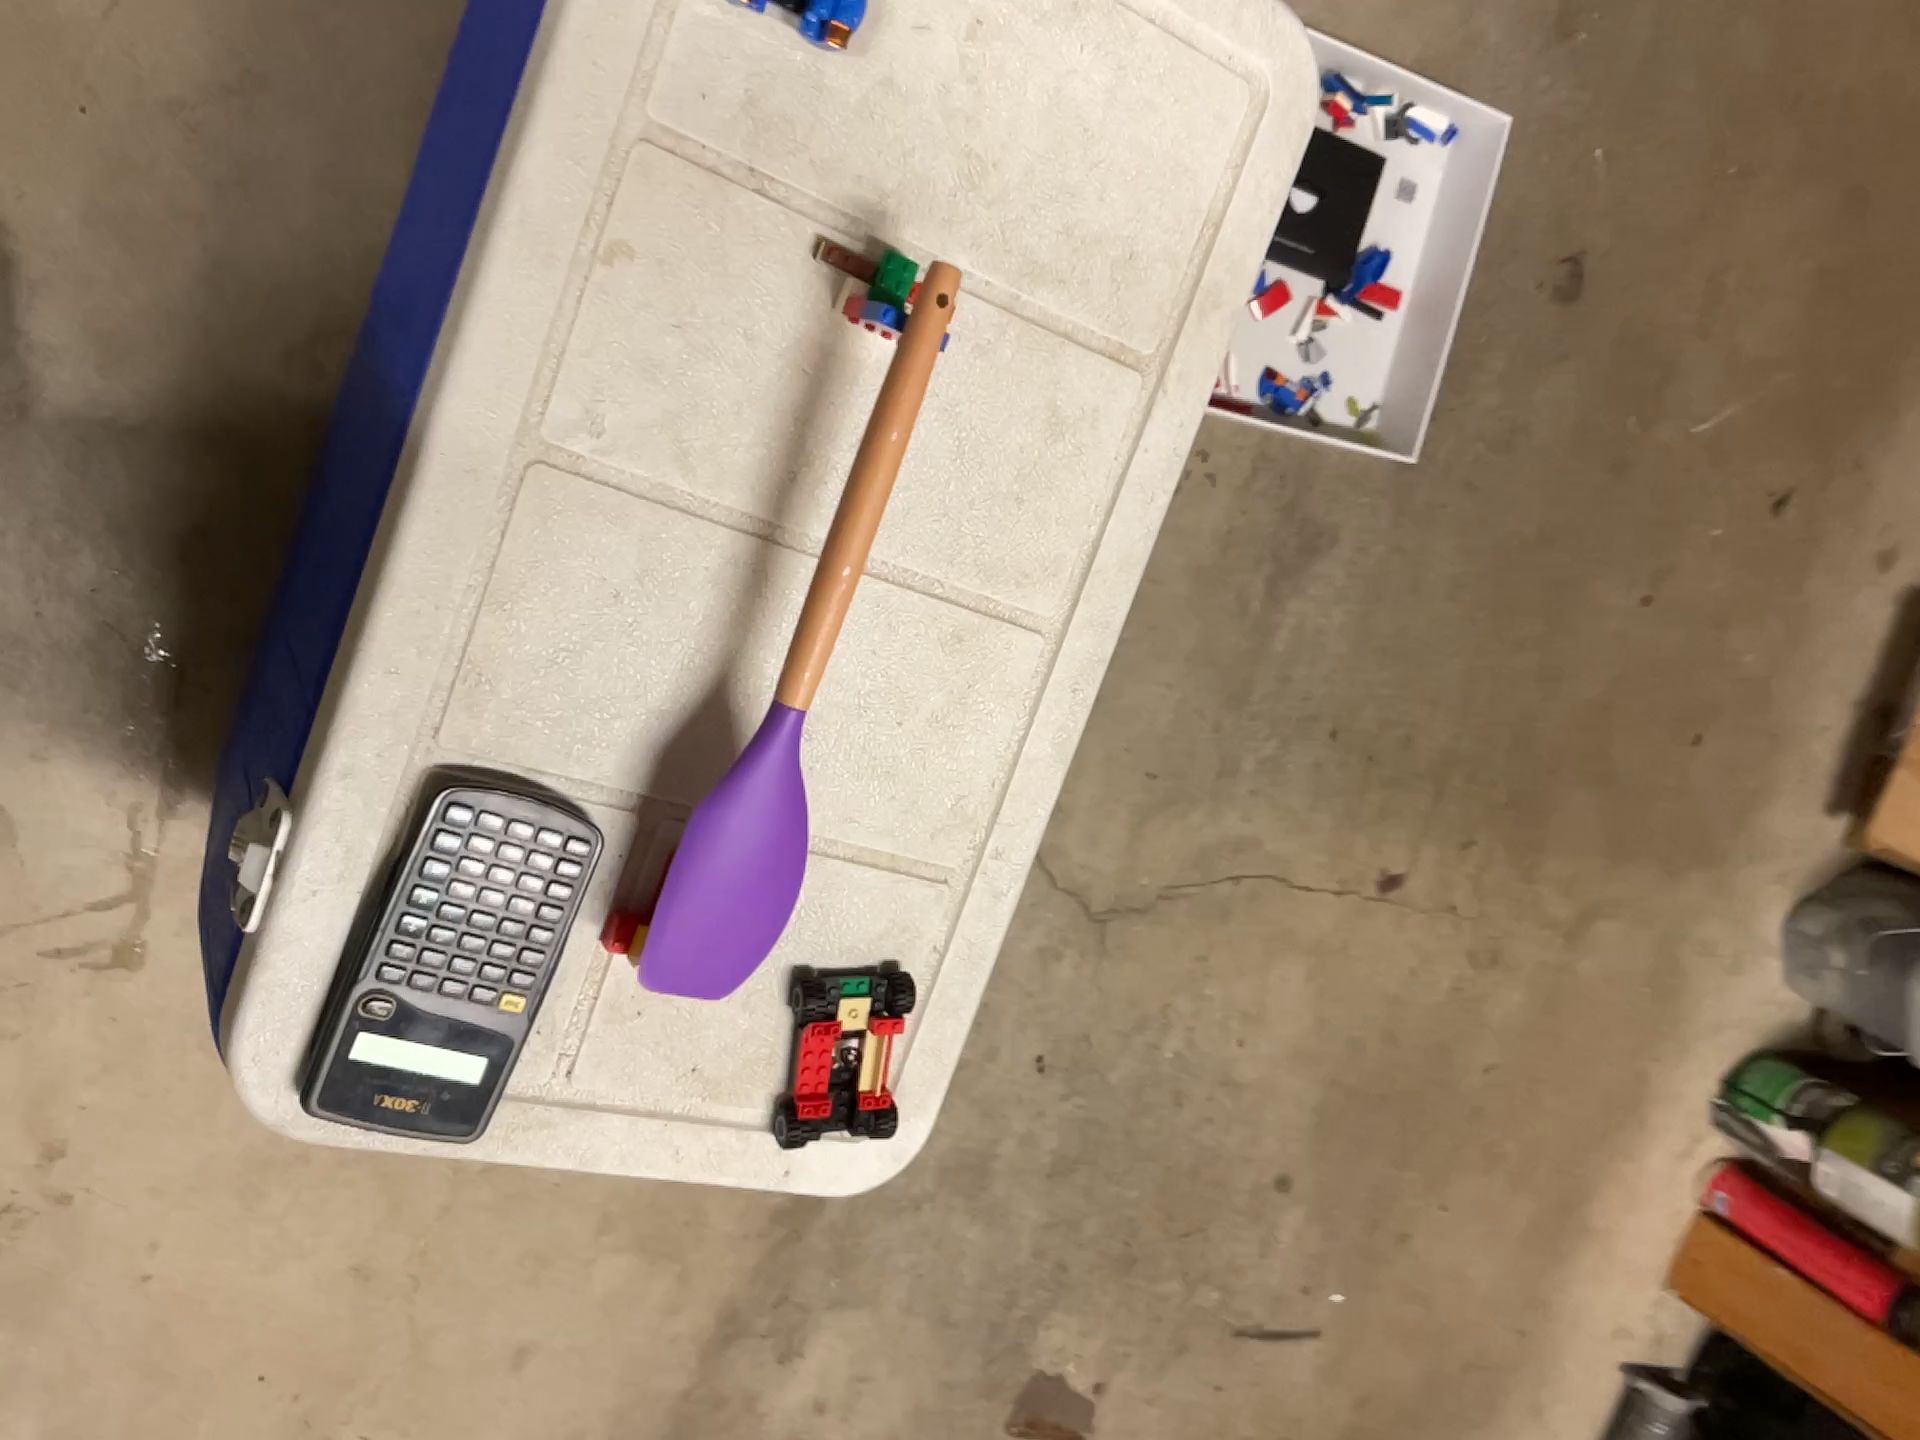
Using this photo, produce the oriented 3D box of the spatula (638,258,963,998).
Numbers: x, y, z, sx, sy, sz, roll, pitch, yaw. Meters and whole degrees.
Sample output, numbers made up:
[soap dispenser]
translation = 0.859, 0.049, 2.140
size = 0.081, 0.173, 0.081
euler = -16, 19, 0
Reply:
[spatula]
translation = -0.058, -0.031, 0.644
size = 0.060, 0.018, 0.316
euler = 15, 100, -30
